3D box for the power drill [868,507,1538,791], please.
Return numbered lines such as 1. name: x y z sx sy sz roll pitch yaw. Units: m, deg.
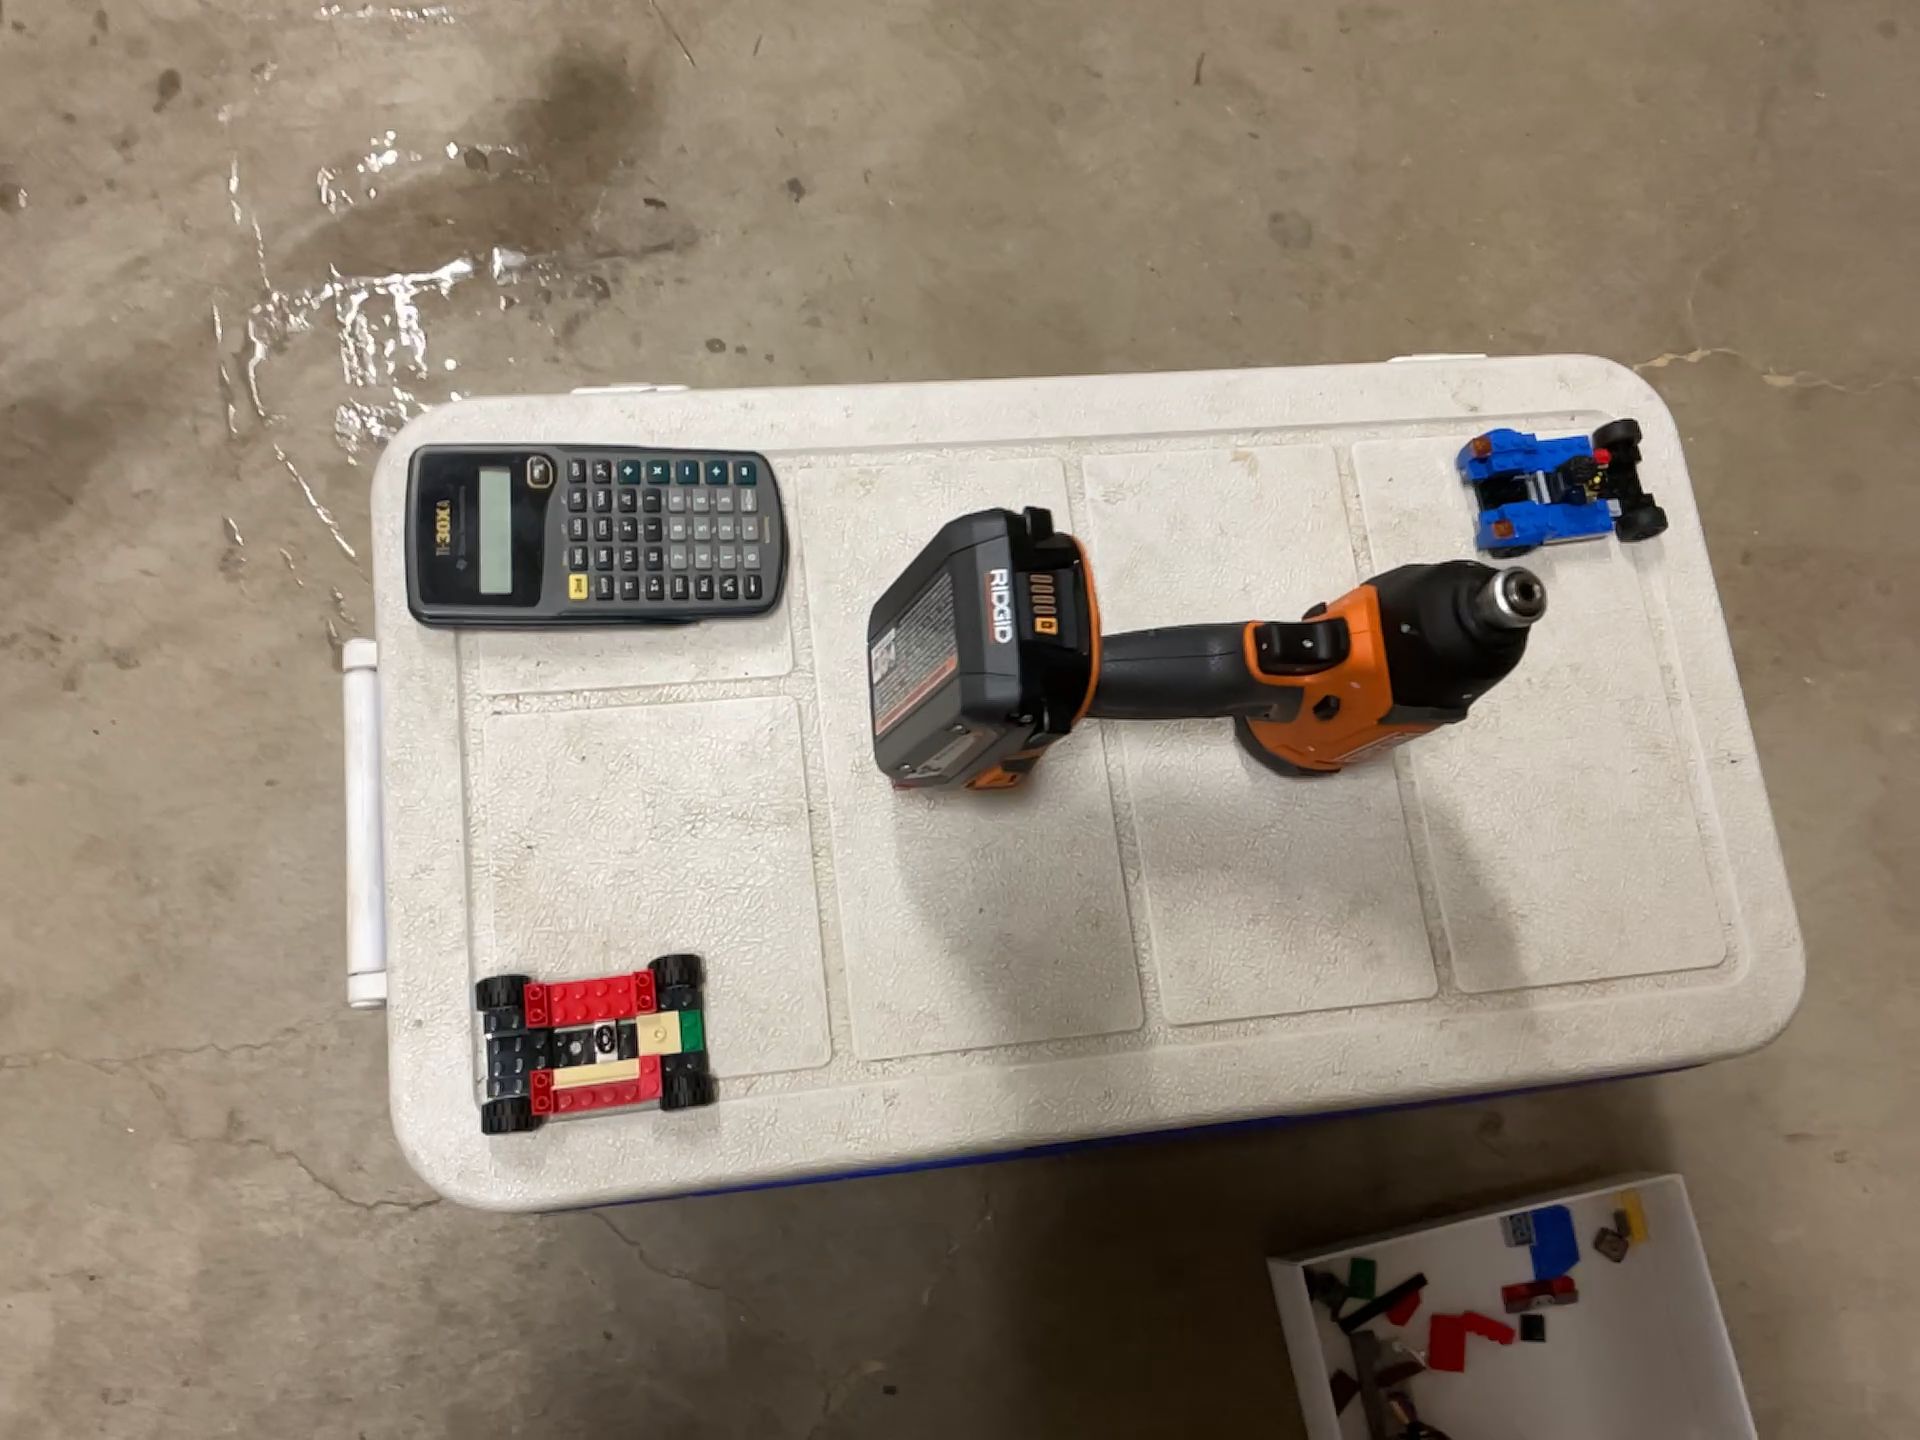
1. power drill: 0.094 -0.025 0.607 0.226 0.164 0.084 1 74 -20
